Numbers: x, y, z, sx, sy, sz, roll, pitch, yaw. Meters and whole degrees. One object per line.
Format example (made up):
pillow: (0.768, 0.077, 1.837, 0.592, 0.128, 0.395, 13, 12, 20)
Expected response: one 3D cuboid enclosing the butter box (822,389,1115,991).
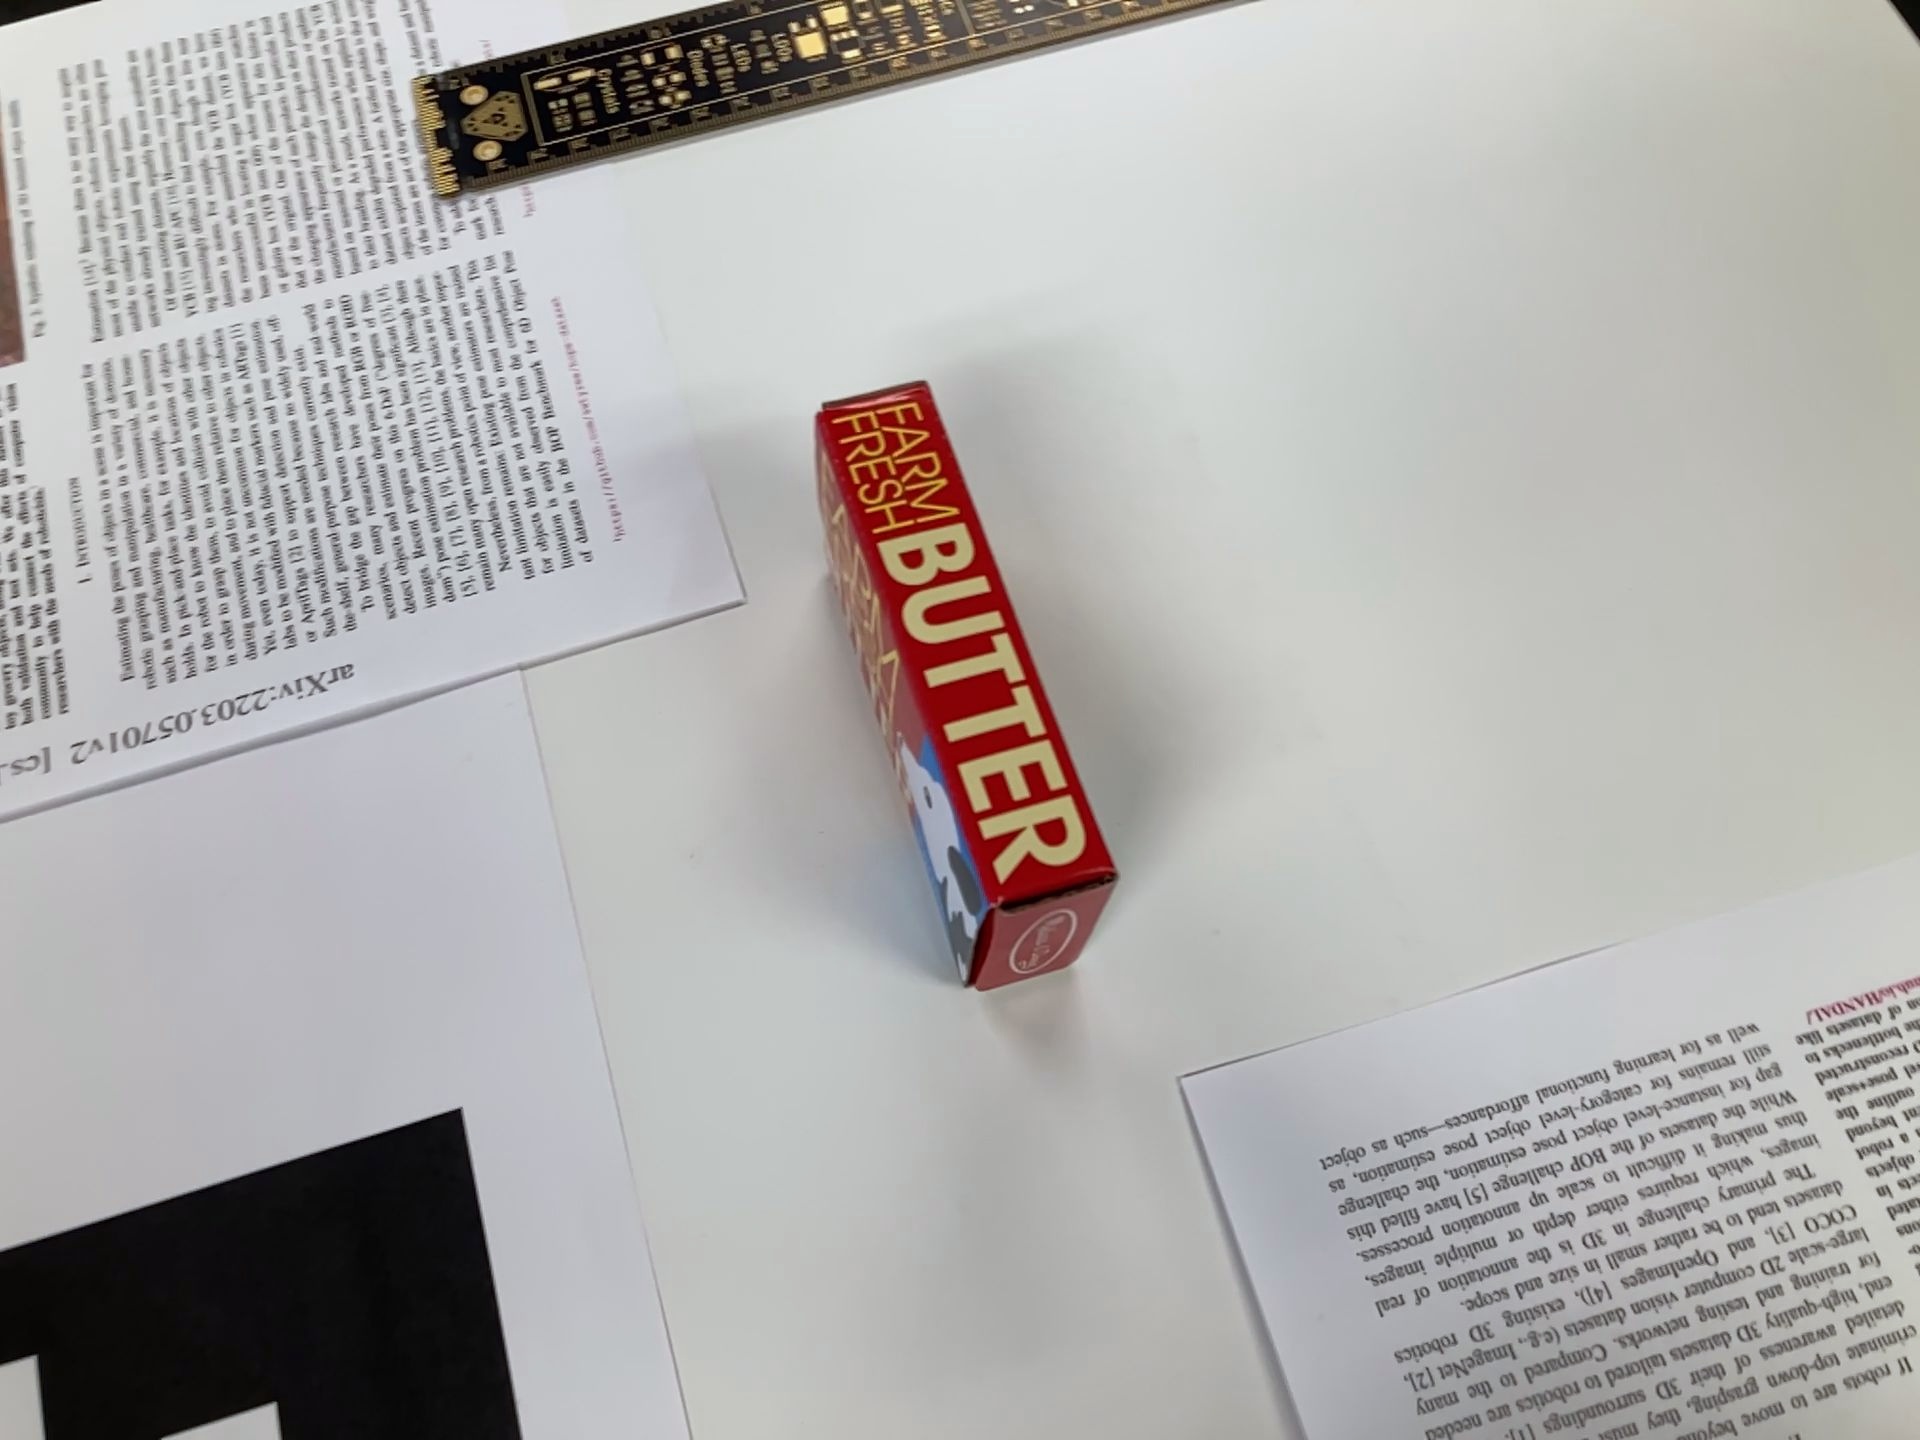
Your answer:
butter box: (-0.002, -0.006, 0.301, 0.024, 0.053, 0.103, -15, 68, -10)
